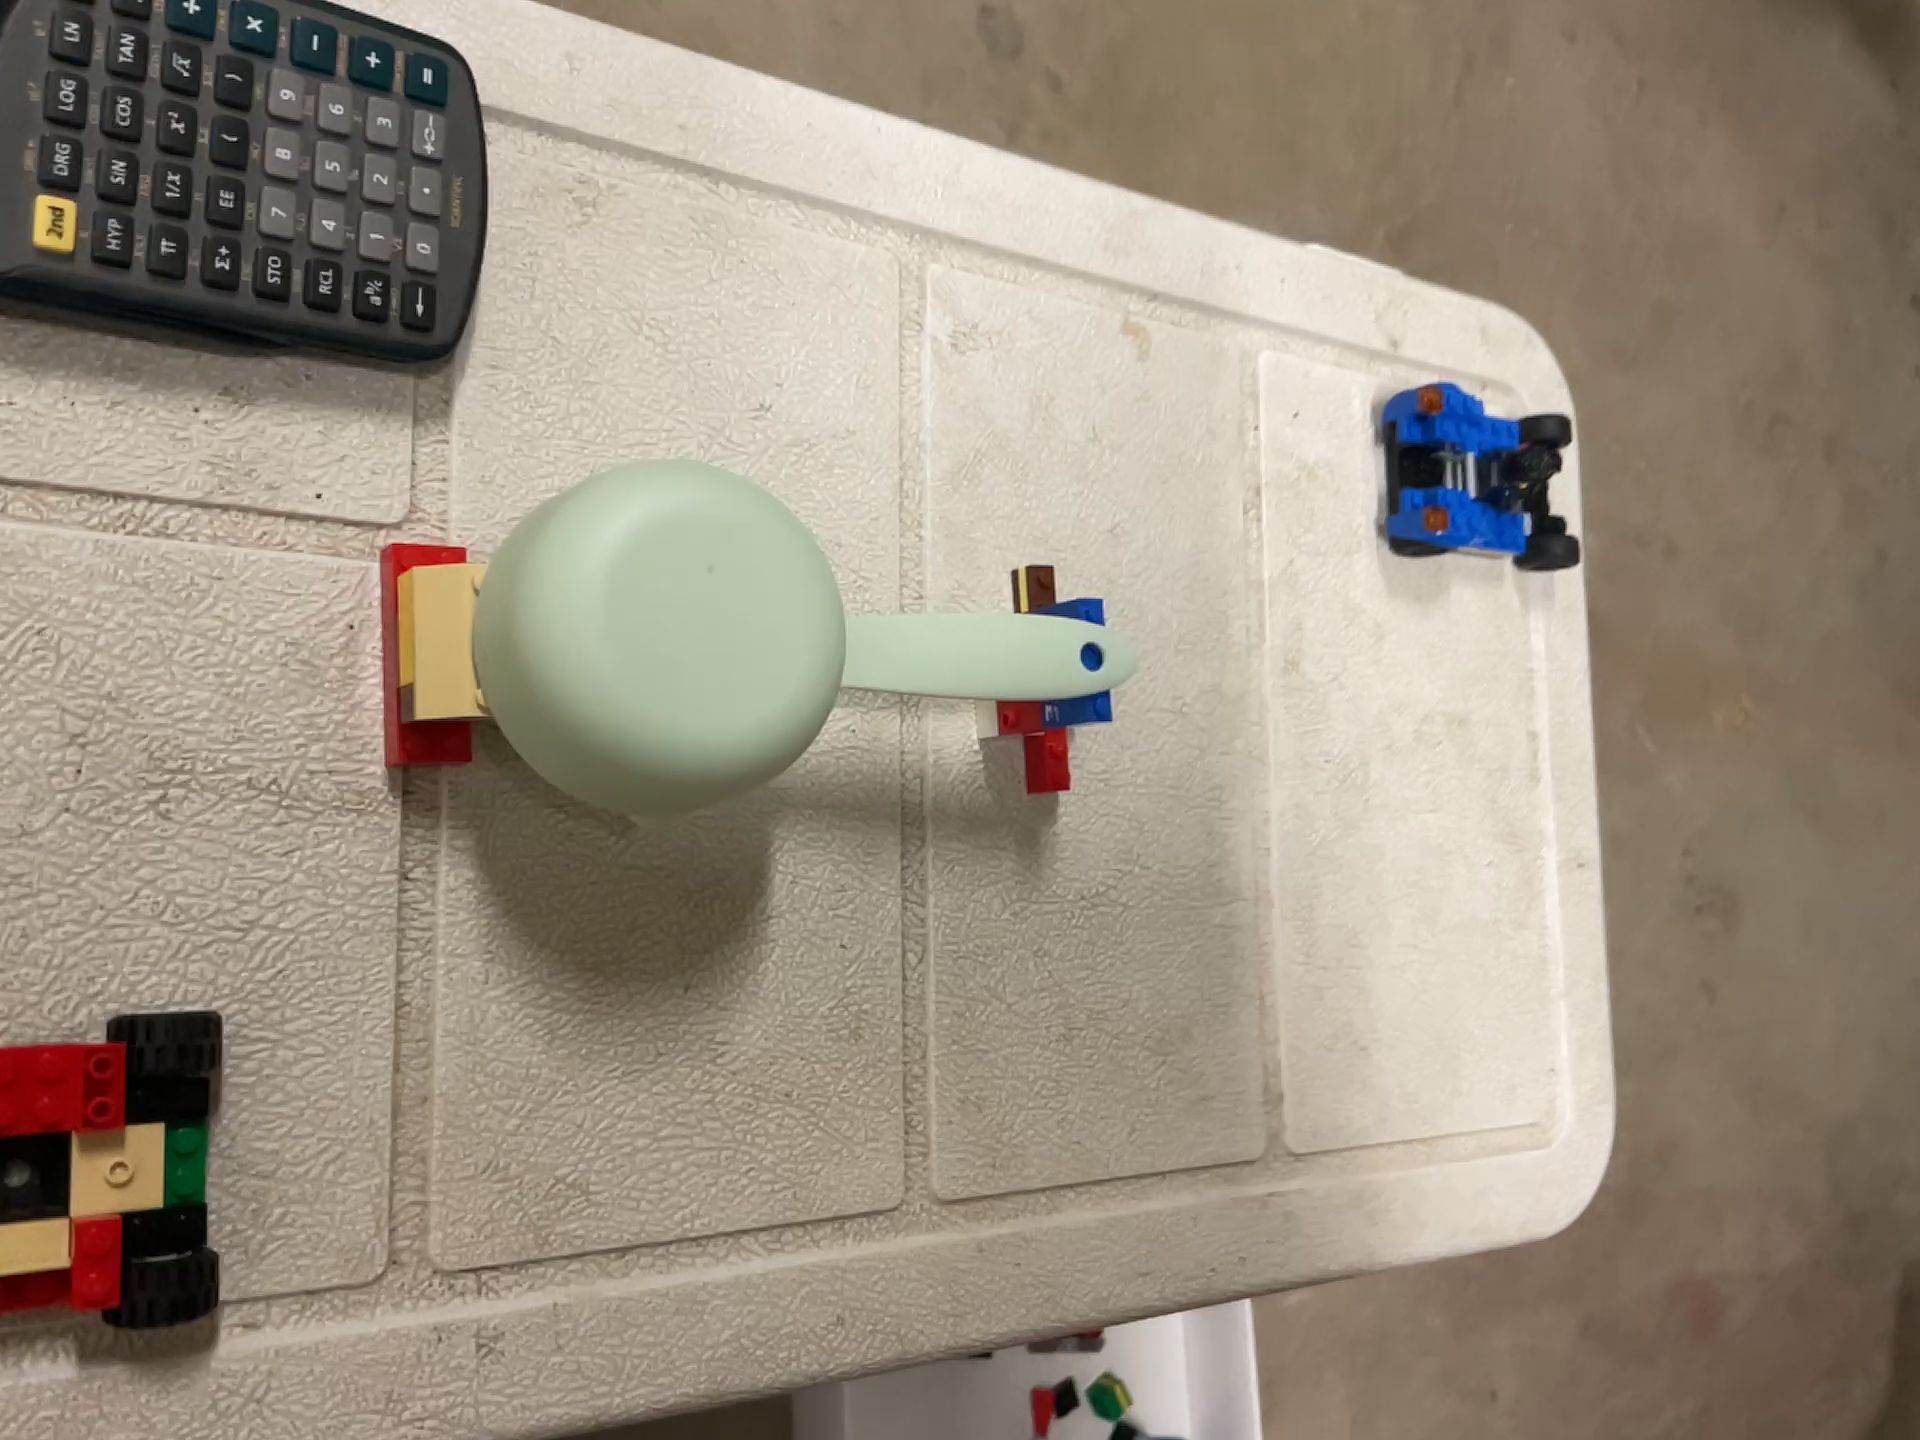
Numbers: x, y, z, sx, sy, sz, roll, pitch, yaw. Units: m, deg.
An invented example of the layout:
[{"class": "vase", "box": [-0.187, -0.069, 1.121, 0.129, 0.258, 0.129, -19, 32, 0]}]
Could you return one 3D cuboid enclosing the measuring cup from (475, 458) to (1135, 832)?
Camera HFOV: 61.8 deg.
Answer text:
[{"class": "measuring cup", "box": [-0.021, -0.018, 0.365, 0.168, 0.038, 0.083, 1, 84, -29]}]
